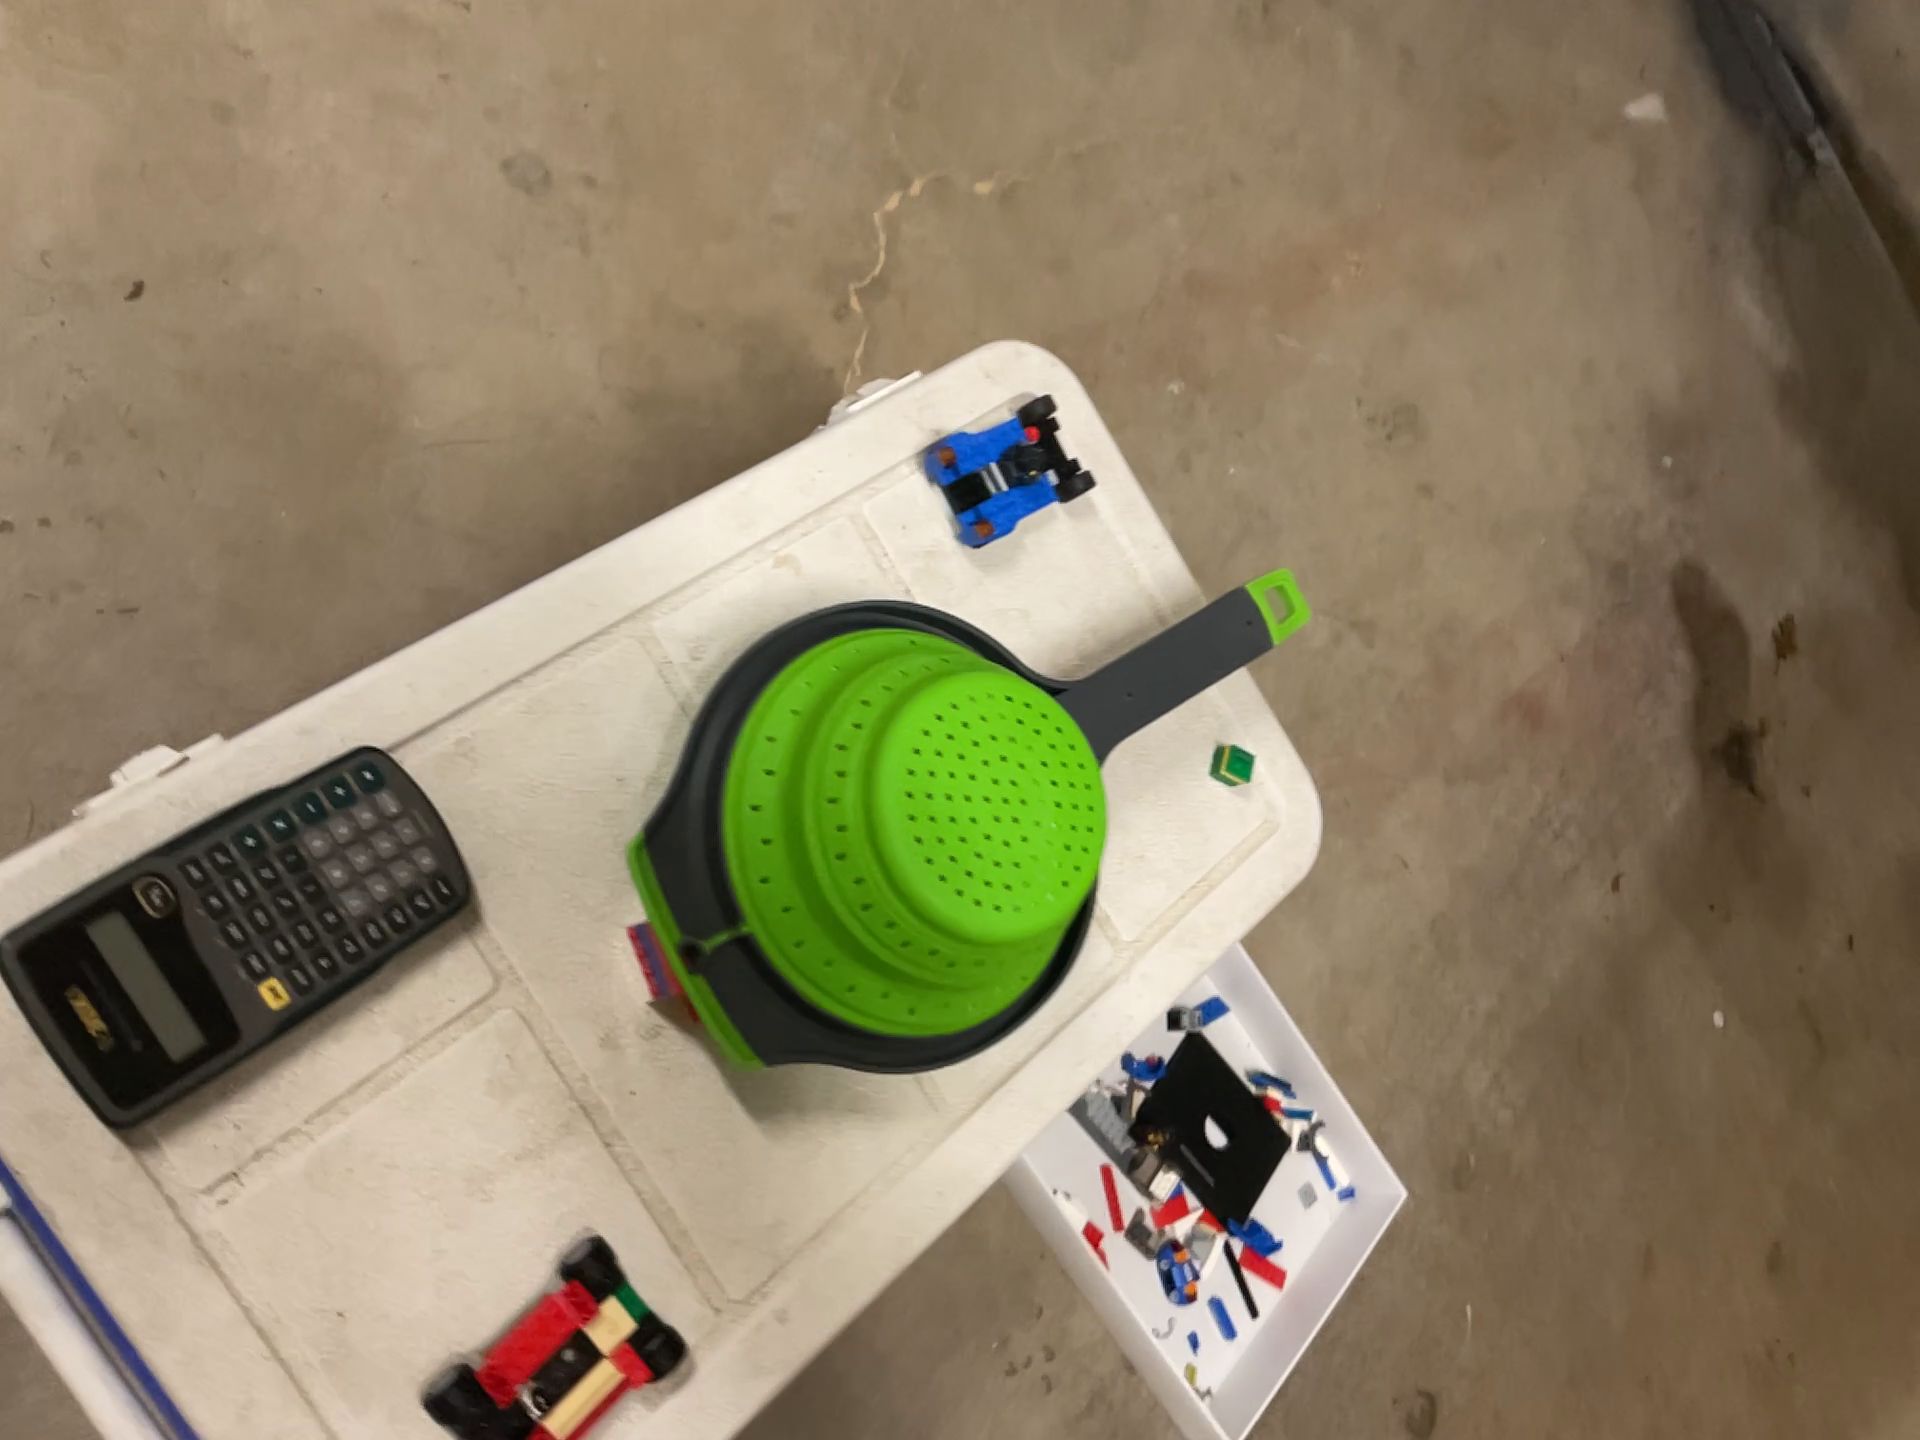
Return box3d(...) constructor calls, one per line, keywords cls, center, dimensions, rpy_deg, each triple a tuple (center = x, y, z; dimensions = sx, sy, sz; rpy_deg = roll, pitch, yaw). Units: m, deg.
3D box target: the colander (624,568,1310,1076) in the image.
box3d(cls="colander", center=(0.051, 0.007, 0.700), dimensions=(0.397, 0.094, 0.204), rpy_deg=(-30, 95, -34))
